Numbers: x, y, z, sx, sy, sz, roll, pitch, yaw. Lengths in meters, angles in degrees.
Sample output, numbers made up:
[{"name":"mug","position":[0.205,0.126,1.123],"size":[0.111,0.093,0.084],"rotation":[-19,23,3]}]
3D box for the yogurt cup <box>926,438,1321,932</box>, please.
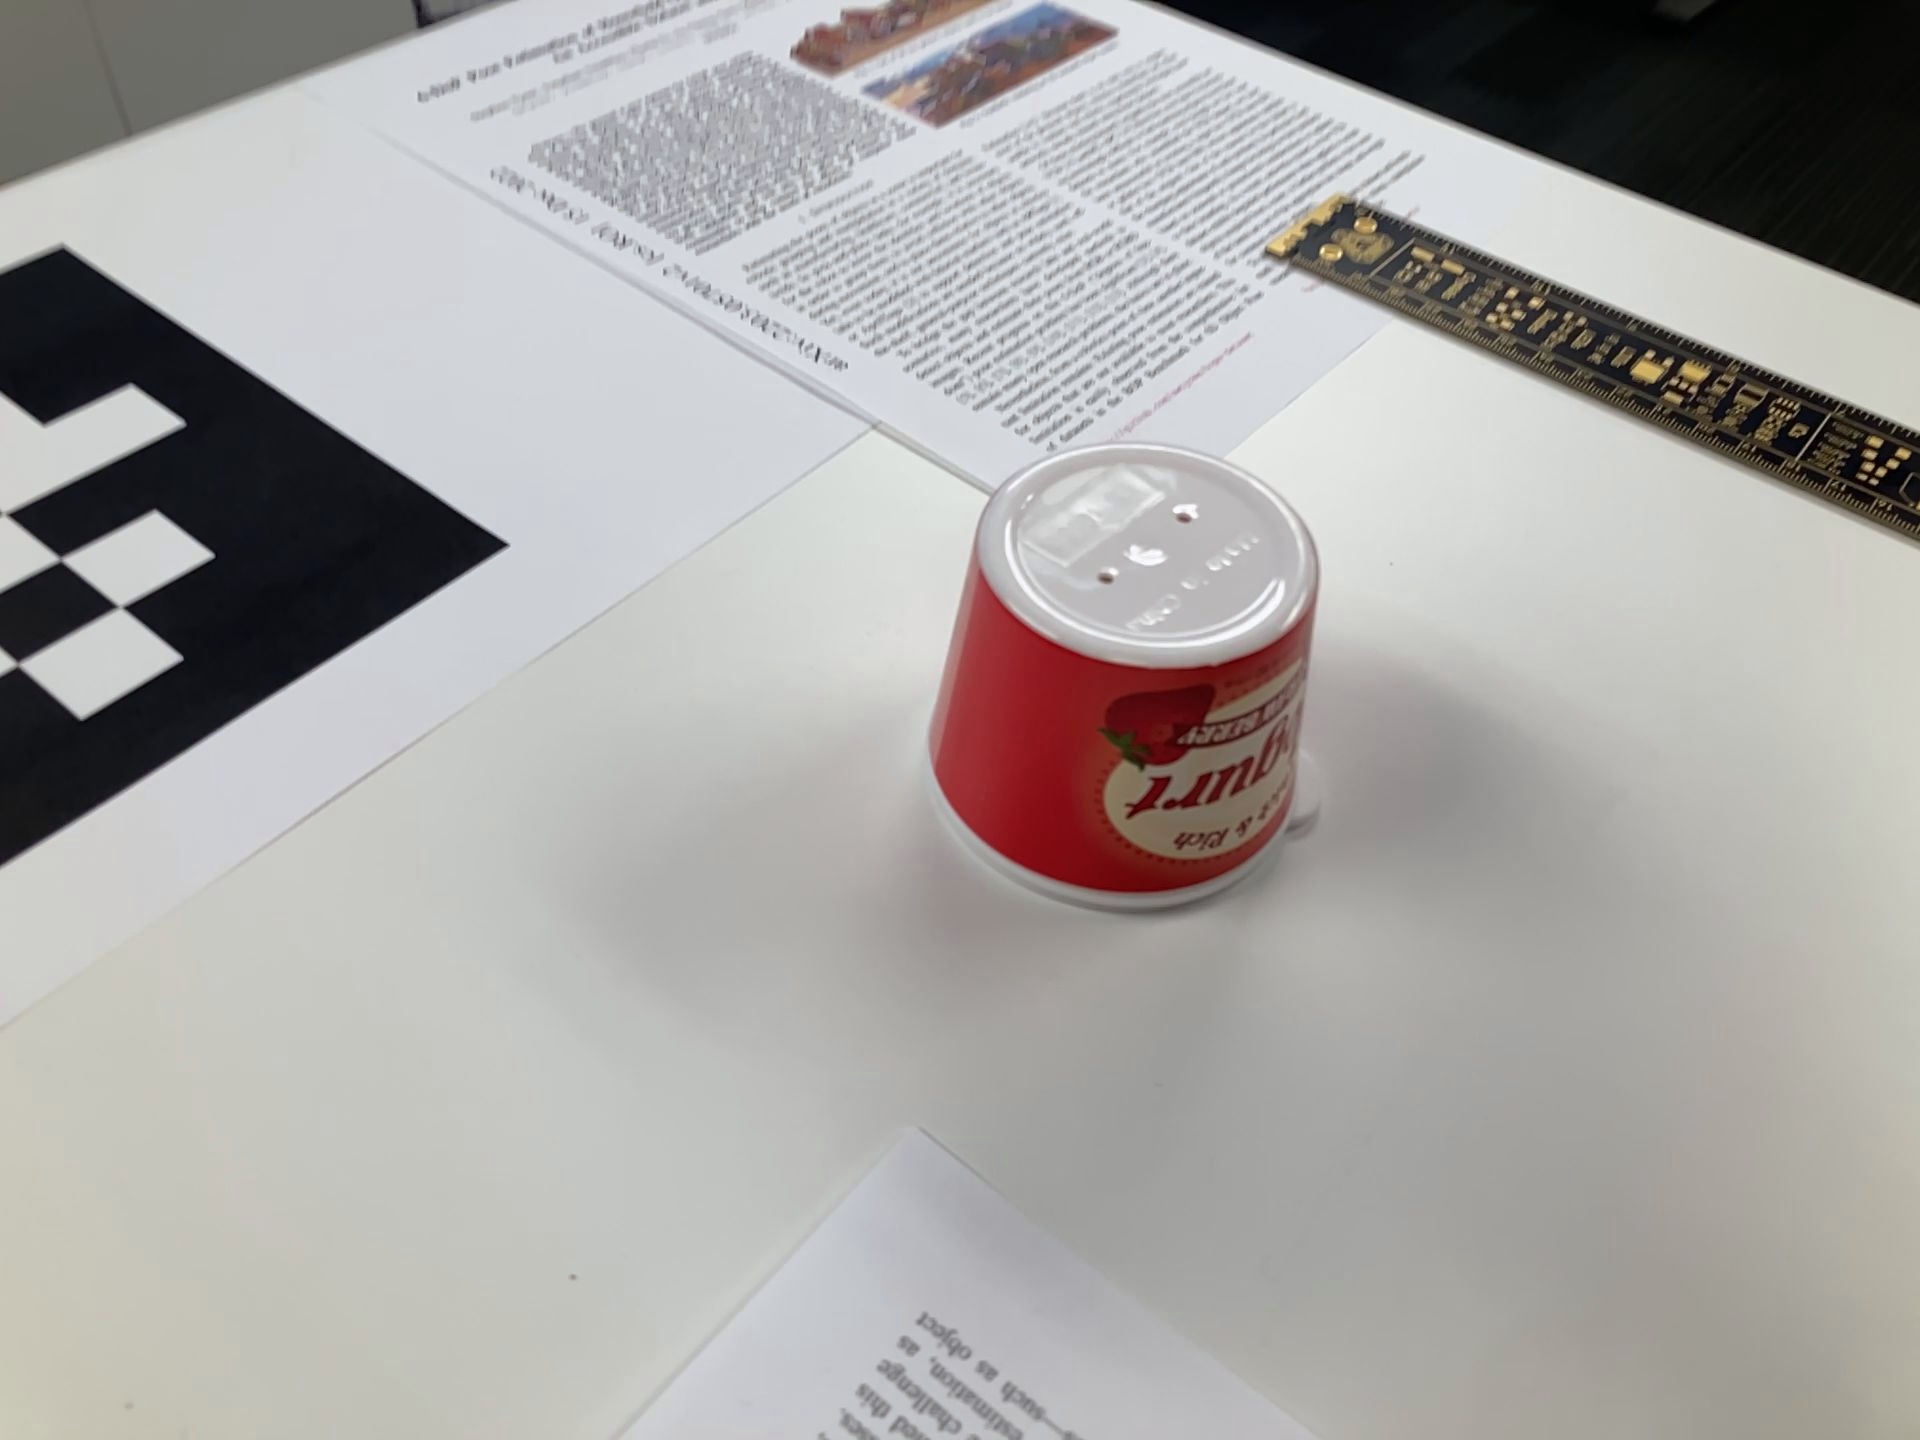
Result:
[{"name":"yogurt cup","position":[0.029,-0.010,0.269],"size":[0.072,0.054,0.072],"rotation":[1,48,-2]}]
